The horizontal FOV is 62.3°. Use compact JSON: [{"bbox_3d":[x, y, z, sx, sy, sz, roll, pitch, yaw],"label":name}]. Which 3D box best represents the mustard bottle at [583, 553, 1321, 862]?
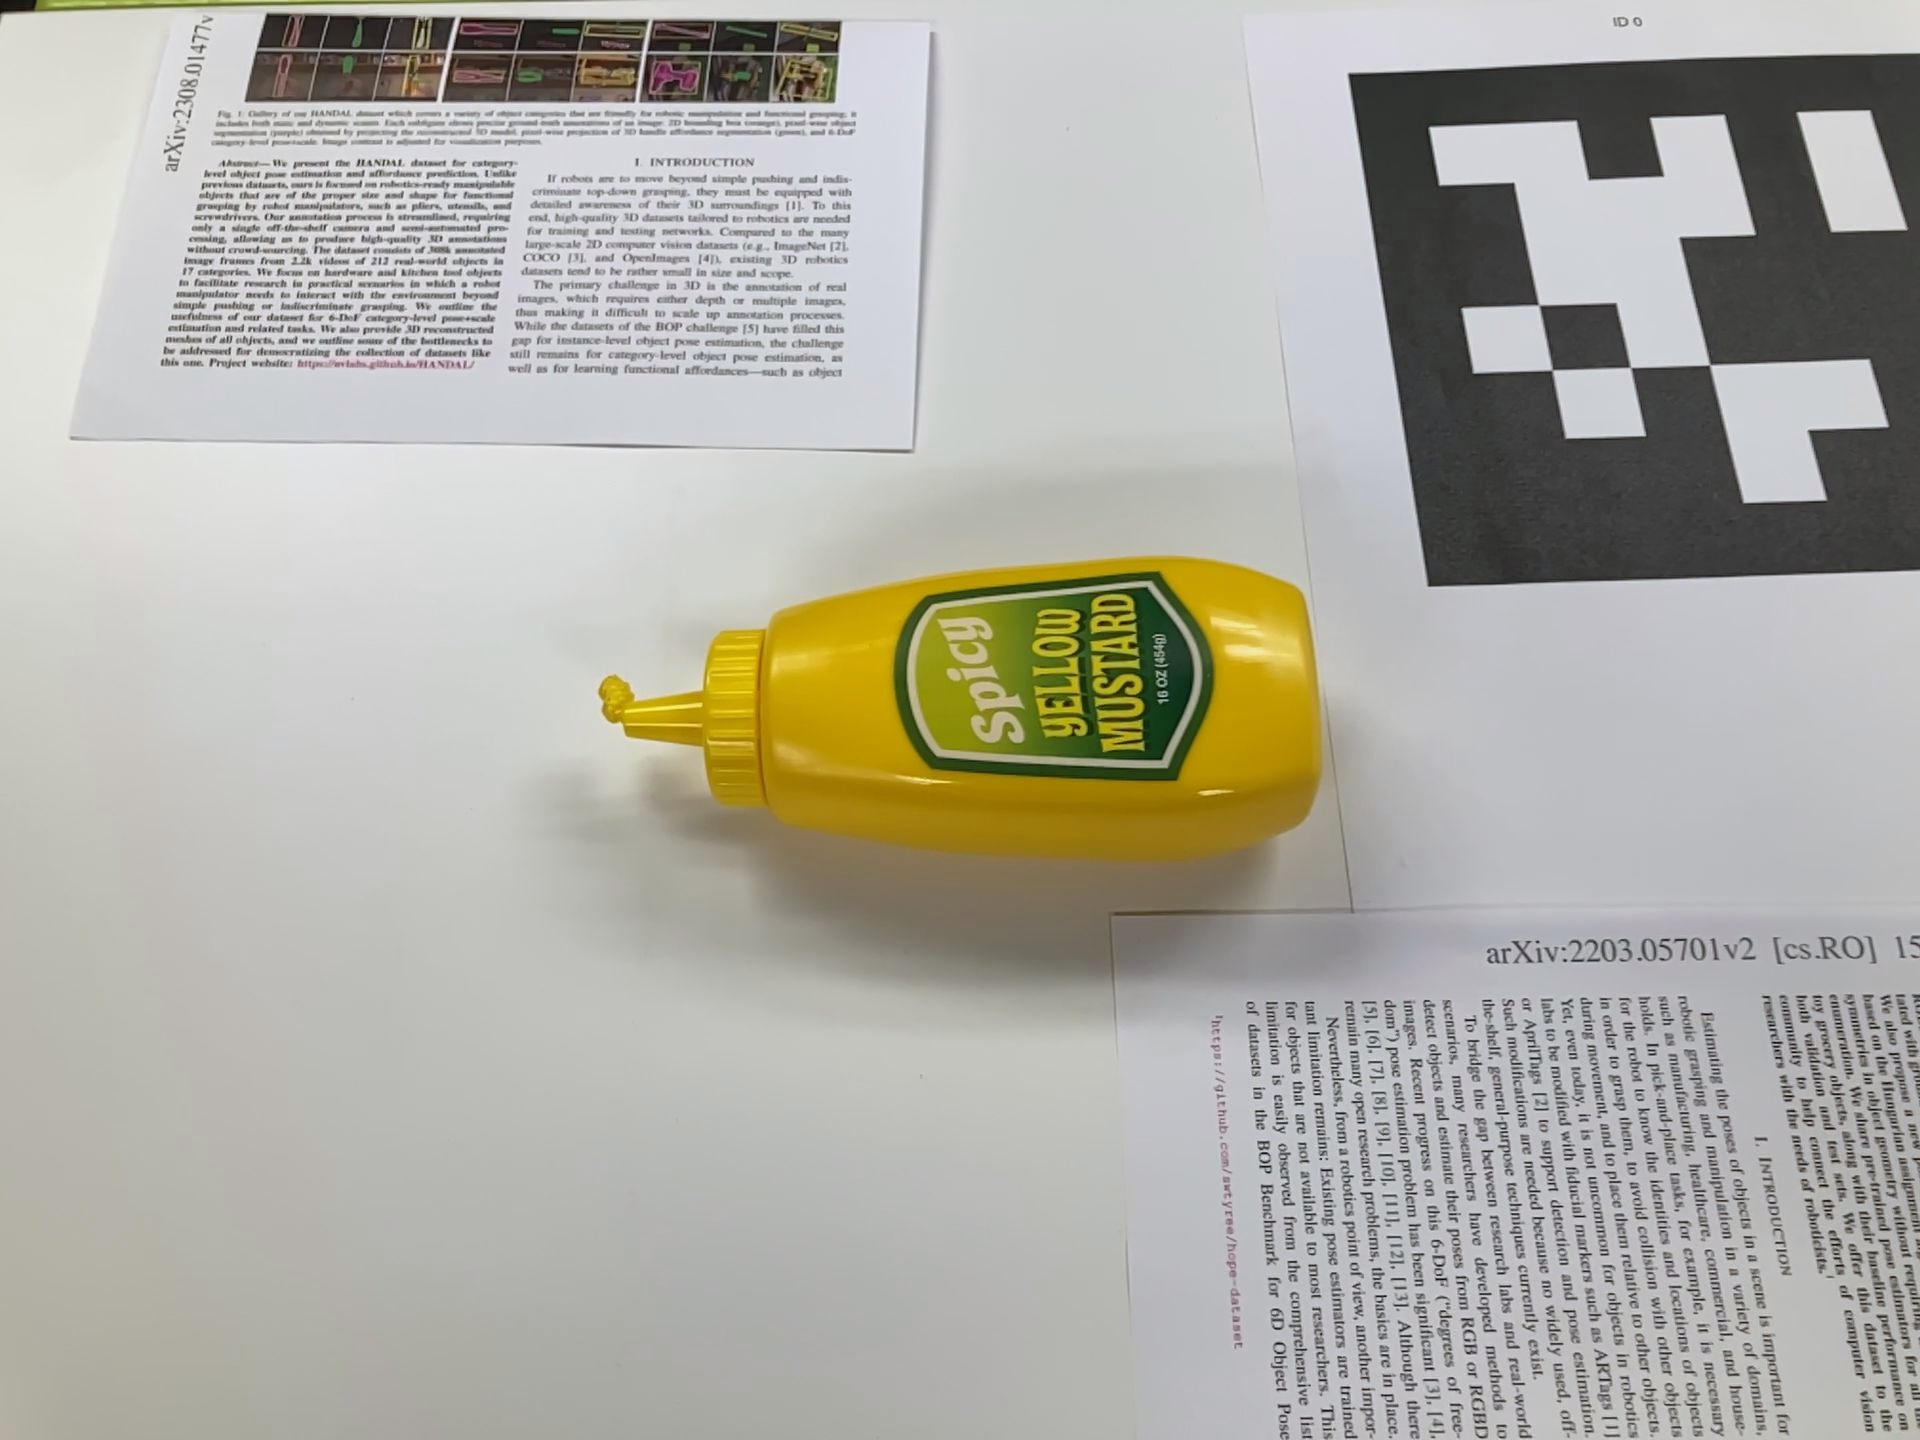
[{"bbox_3d":[-0.004,-0.001,0.349,0.160,0.049,0.065,-2,67,1],"label":"mustard bottle"}]
